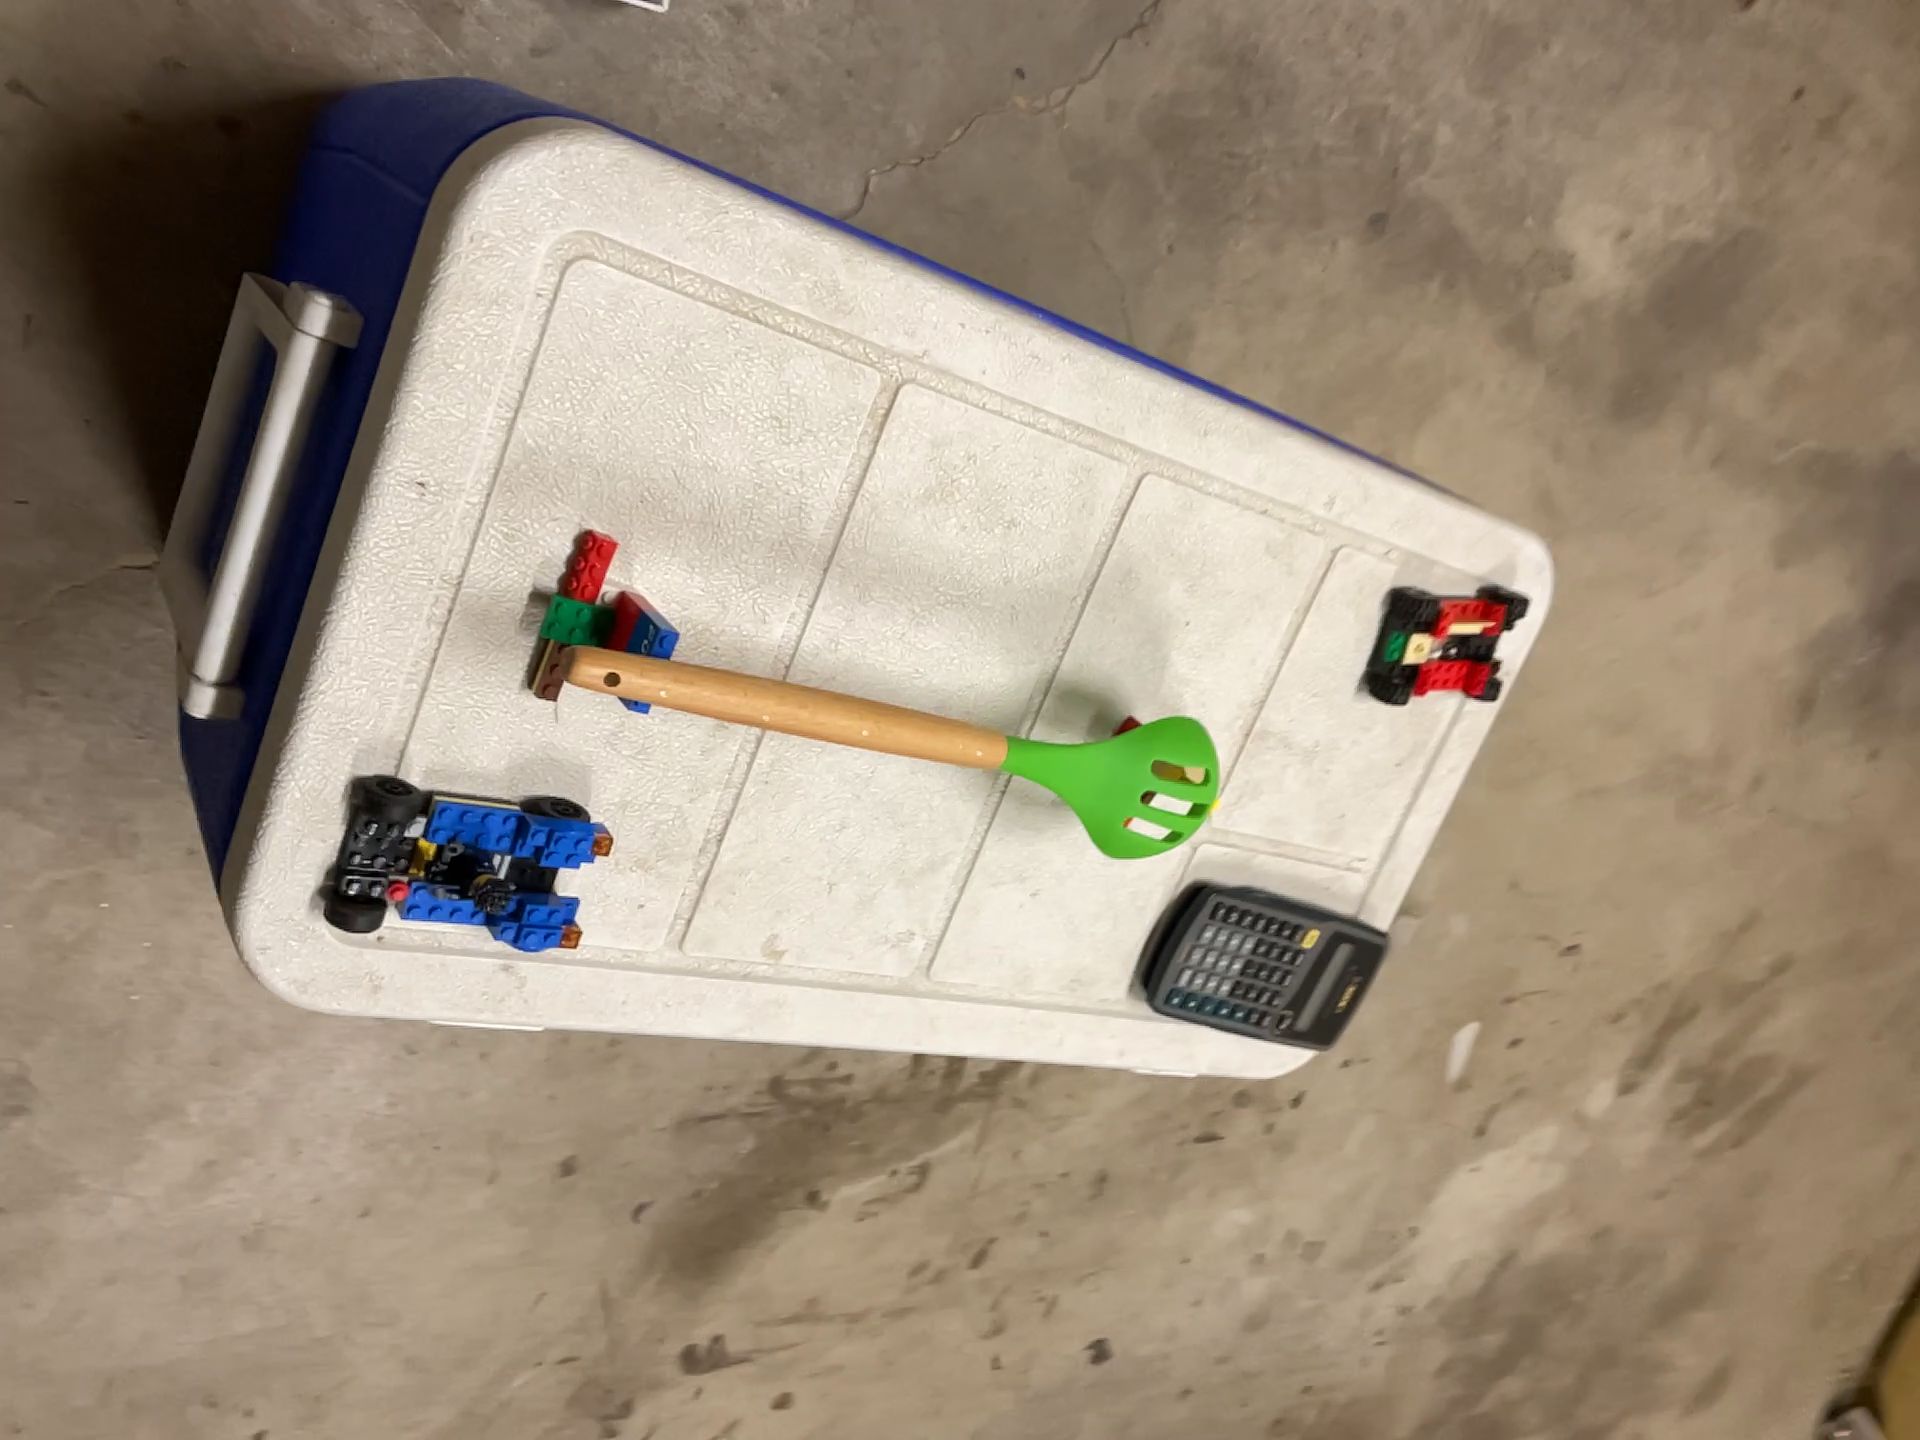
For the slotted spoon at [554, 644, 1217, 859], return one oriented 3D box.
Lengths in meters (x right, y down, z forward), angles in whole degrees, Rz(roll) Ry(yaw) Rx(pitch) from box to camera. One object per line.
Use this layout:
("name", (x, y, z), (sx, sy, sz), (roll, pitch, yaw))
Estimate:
("slotted spoon", (-0.008, 0.010, 0.615), (0.313, 0.031, 0.070), (13, 107, -36))
